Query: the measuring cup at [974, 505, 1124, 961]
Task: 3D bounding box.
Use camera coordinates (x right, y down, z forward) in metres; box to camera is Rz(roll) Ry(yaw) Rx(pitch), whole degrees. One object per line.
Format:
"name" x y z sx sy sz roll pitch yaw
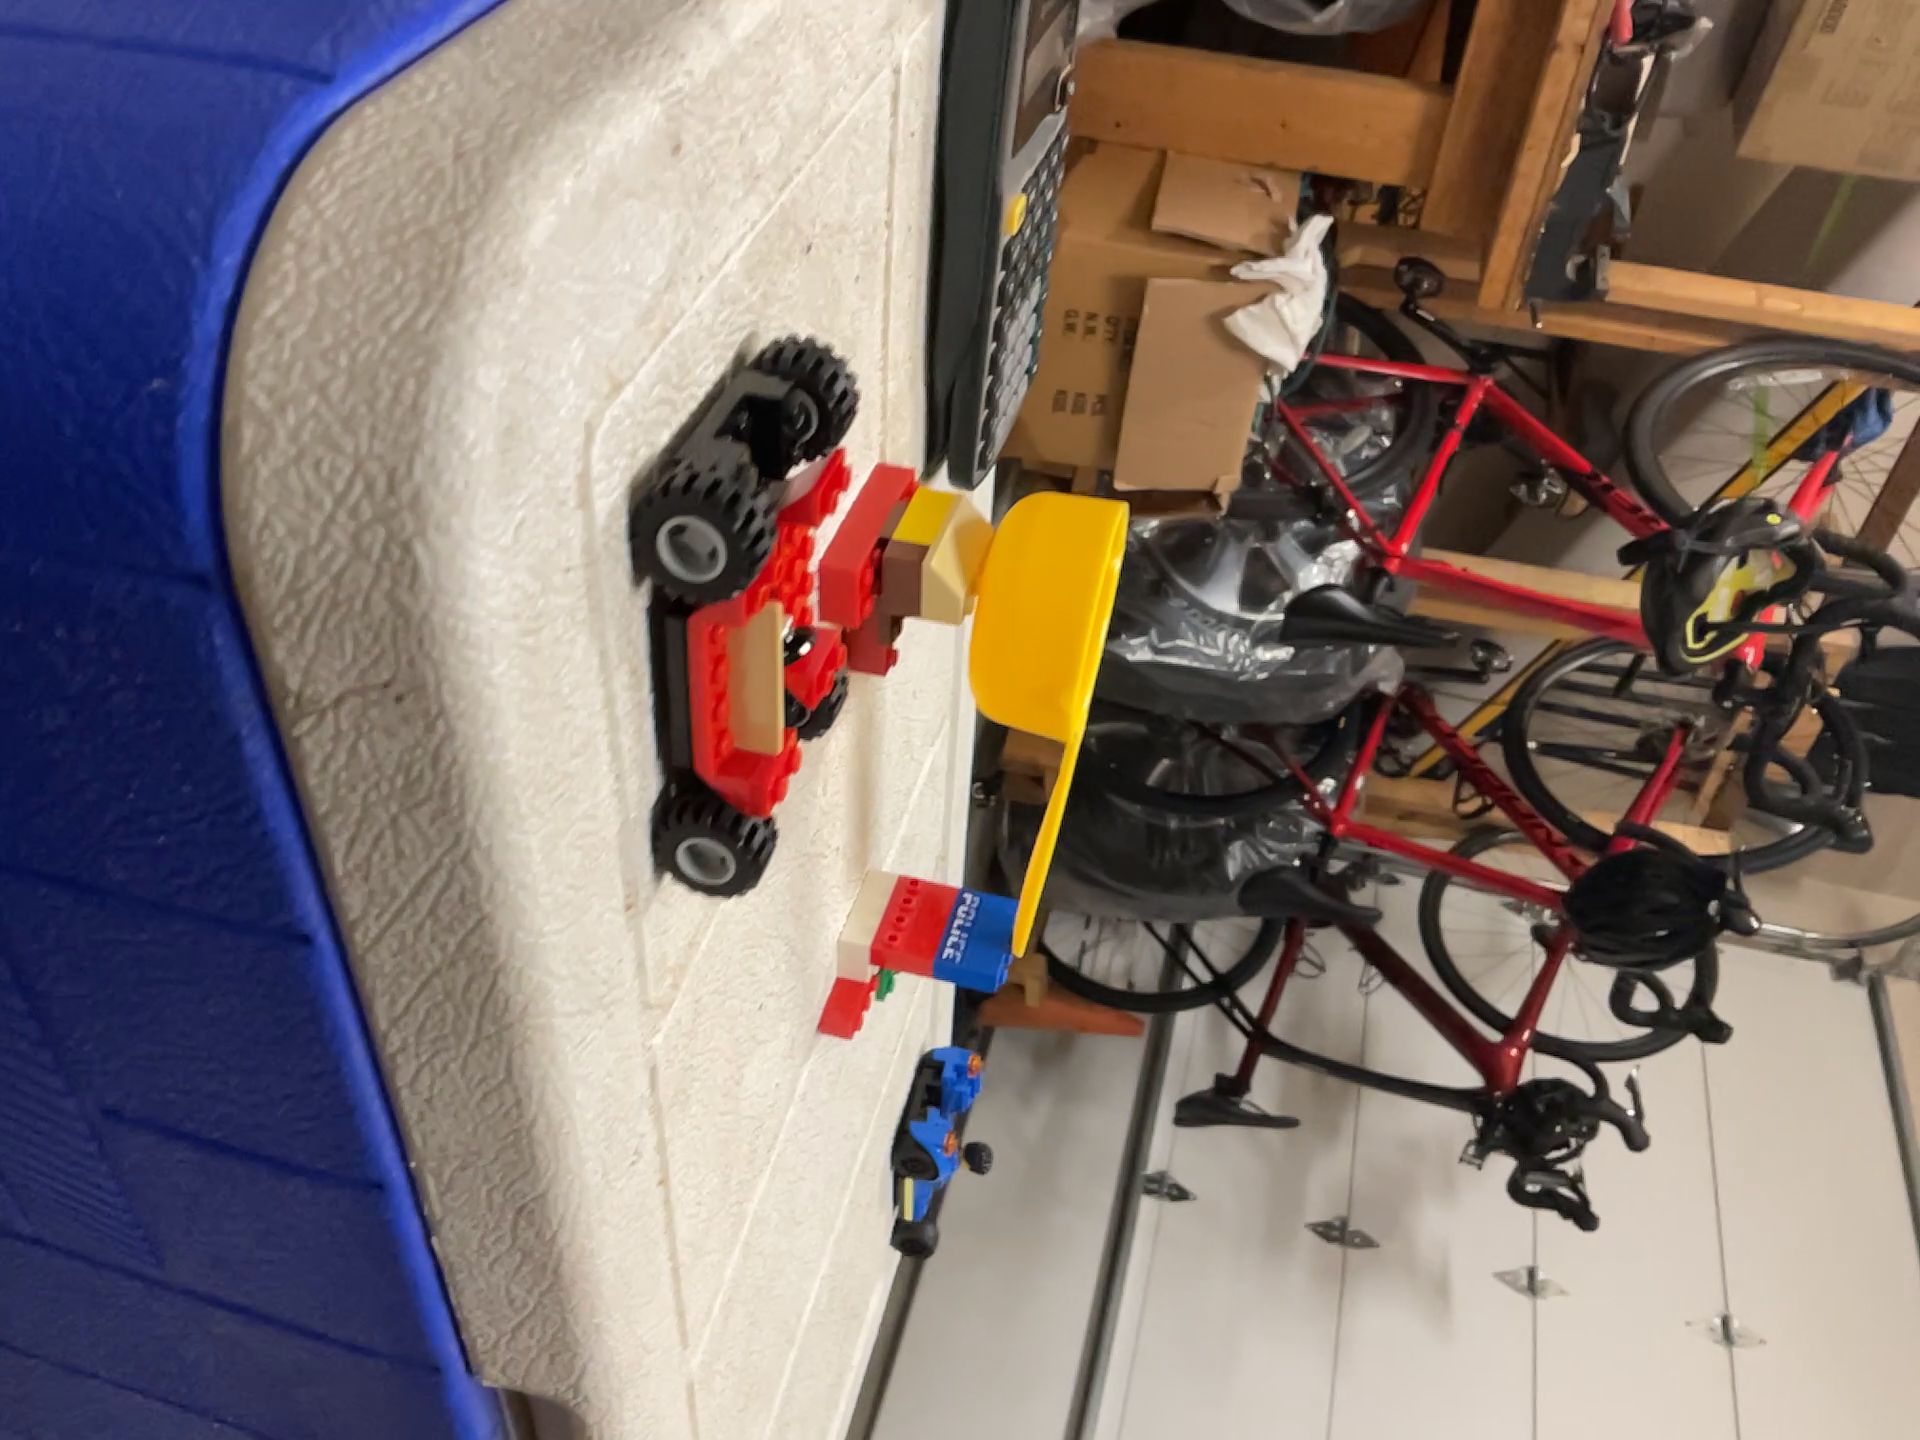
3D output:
"measuring cup" 0.016 0.010 0.428 0.062 0.029 0.156 -69 171 -47
